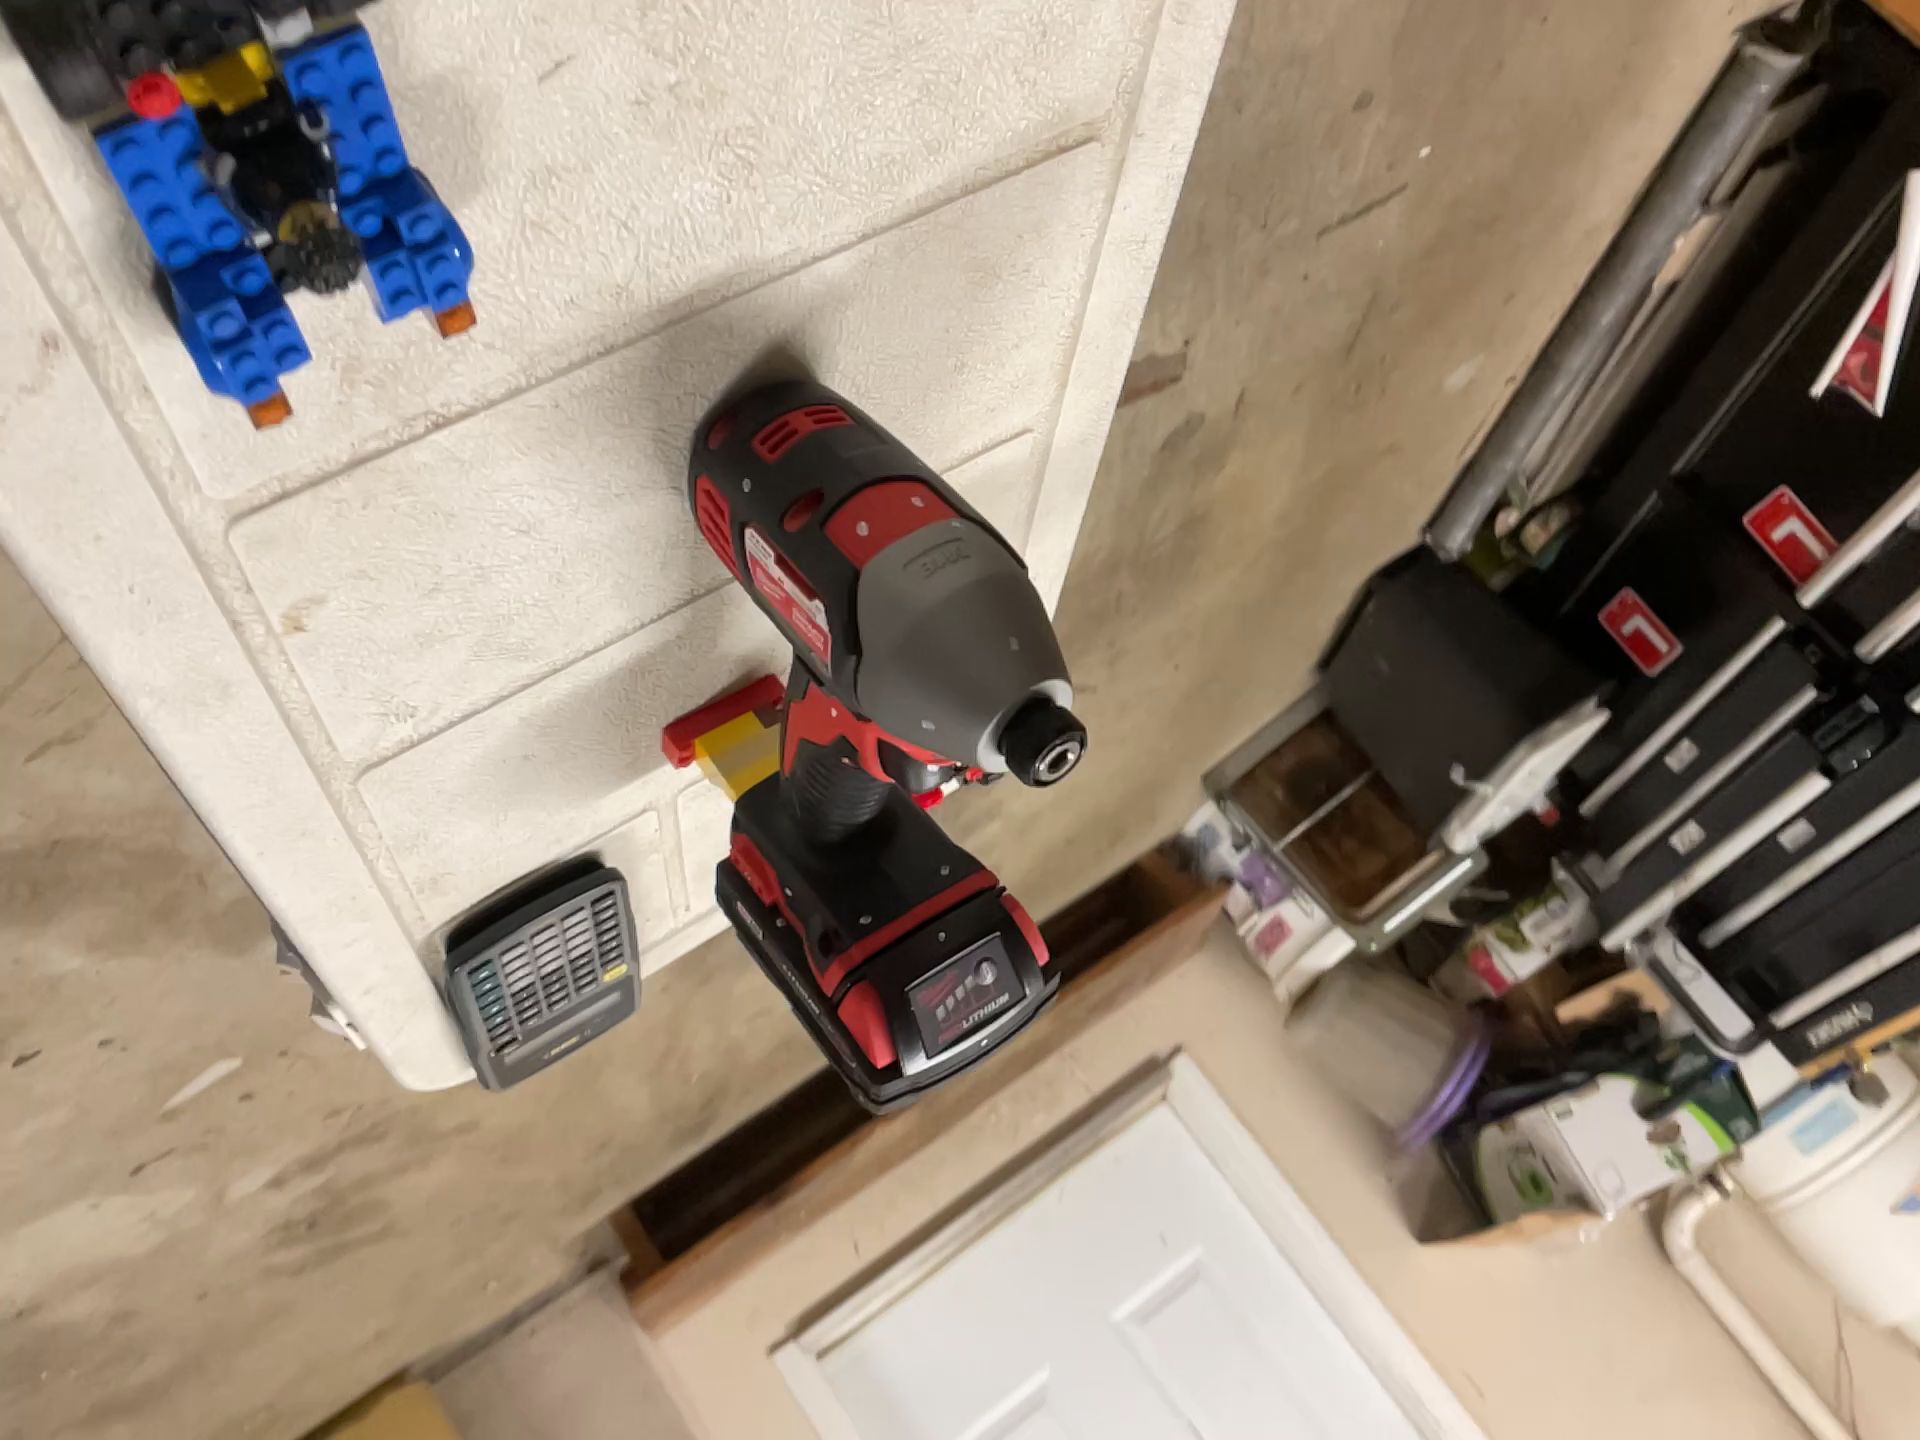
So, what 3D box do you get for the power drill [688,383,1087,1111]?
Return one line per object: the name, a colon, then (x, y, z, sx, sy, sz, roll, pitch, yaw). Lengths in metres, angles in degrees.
power drill: (-0.020, 0.019, 0.491, 0.078, 0.143, 0.219, -28, 146, -25)
